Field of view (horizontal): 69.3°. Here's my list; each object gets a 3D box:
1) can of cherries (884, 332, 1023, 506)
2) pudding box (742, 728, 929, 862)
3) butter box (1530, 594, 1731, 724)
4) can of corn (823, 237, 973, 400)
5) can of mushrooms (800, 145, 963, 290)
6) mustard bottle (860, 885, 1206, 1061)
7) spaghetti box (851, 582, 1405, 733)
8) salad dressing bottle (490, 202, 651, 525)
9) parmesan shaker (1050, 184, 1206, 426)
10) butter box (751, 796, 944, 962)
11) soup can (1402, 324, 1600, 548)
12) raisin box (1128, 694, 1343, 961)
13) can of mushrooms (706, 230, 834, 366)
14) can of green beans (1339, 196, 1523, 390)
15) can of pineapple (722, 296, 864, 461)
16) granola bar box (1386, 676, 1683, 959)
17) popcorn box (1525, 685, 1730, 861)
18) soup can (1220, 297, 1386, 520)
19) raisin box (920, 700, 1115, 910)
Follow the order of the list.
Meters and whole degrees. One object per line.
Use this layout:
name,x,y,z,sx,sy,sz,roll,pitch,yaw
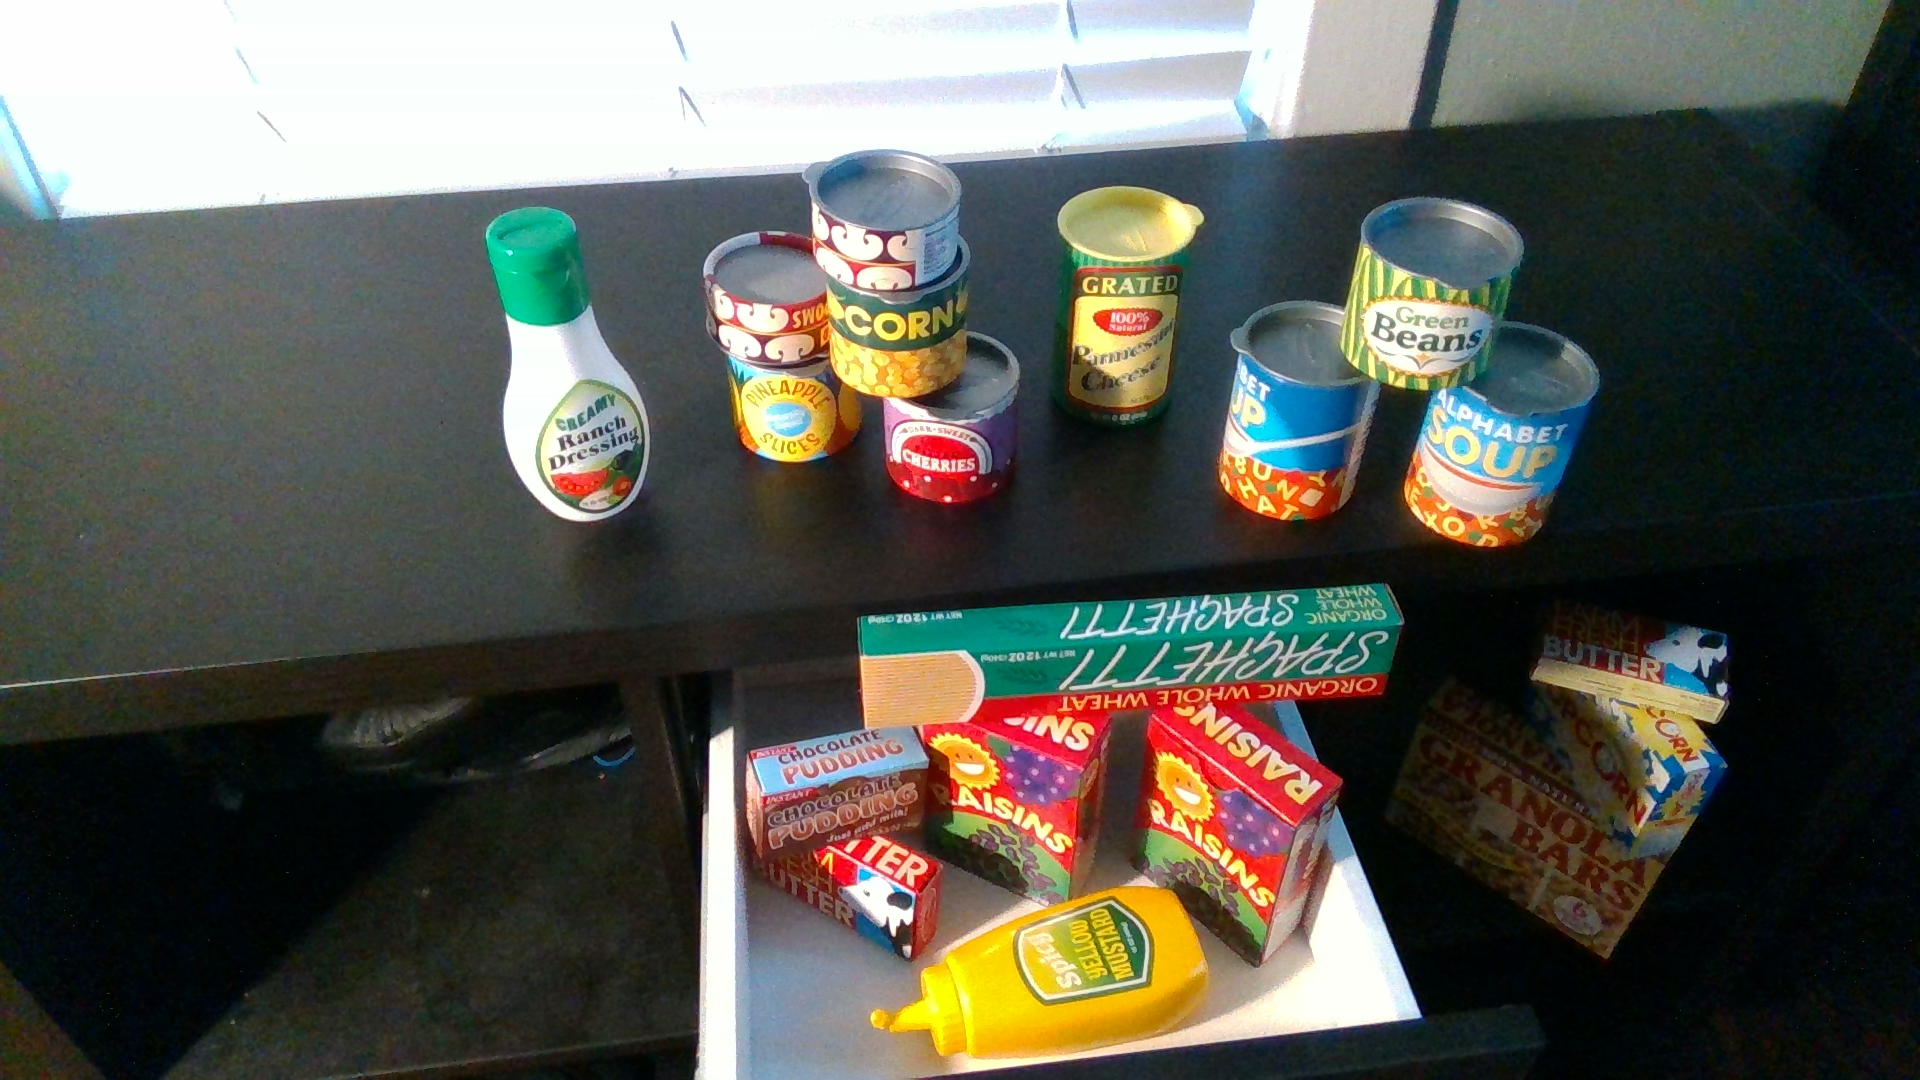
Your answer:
can of cherries,-0.004,-0.057,0.663,0.071,0.058,0.072,0,44,0
pudding box,-0.059,0.118,0.660,0.084,0.049,0.030,-8,38,-21
butter box,0.386,0.068,0.802,0.103,0.024,0.053,13,47,16
can of corn,-0.028,-0.104,0.632,0.071,0.058,0.071,1,43,-1
can of mushrooms,-0.035,-0.141,0.604,0.071,0.071,0.033,0,-43,-2
mustard bottle,0.032,0.209,0.647,0.160,0.048,0.065,-12,48,-15
spaghetti box,0.076,0.053,0.632,0.250,0.049,0.029,-3,39,-6
salad dressing bottle,-0.175,-0.075,0.616,0.064,0.146,0.044,-26,48,-26
parmesan shaker,0.082,-0.115,0.692,0.071,0.102,0.072,0,45,1
butter box,-0.058,0.162,0.686,0.103,0.052,0.024,23,39,23
soup can,0.245,-0.046,0.636,0.071,0.083,0.072,1,43,-1
raisin box,0.128,0.136,0.669,0.040,0.122,0.086,-35,55,-29
can of mushrooms,-0.085,-0.115,0.659,0.071,0.071,0.033,0,-44,-6
can of green beans,0.201,-0.106,0.600,0.071,0.057,0.071,-1,44,1
can of pineapple,-0.081,-0.079,0.685,0.071,0.057,0.071,0,44,0
granola bar box,0.371,0.181,0.905,0.166,0.123,0.039,32,50,29
popcorn box,0.393,0.114,0.829,0.038,0.084,0.127,-7,43,-8
soup can,0.156,-0.061,0.651,0.071,0.083,0.072,0,43,0
raisin box,0.026,0.121,0.680,0.086,0.122,0.040,20,47,19
